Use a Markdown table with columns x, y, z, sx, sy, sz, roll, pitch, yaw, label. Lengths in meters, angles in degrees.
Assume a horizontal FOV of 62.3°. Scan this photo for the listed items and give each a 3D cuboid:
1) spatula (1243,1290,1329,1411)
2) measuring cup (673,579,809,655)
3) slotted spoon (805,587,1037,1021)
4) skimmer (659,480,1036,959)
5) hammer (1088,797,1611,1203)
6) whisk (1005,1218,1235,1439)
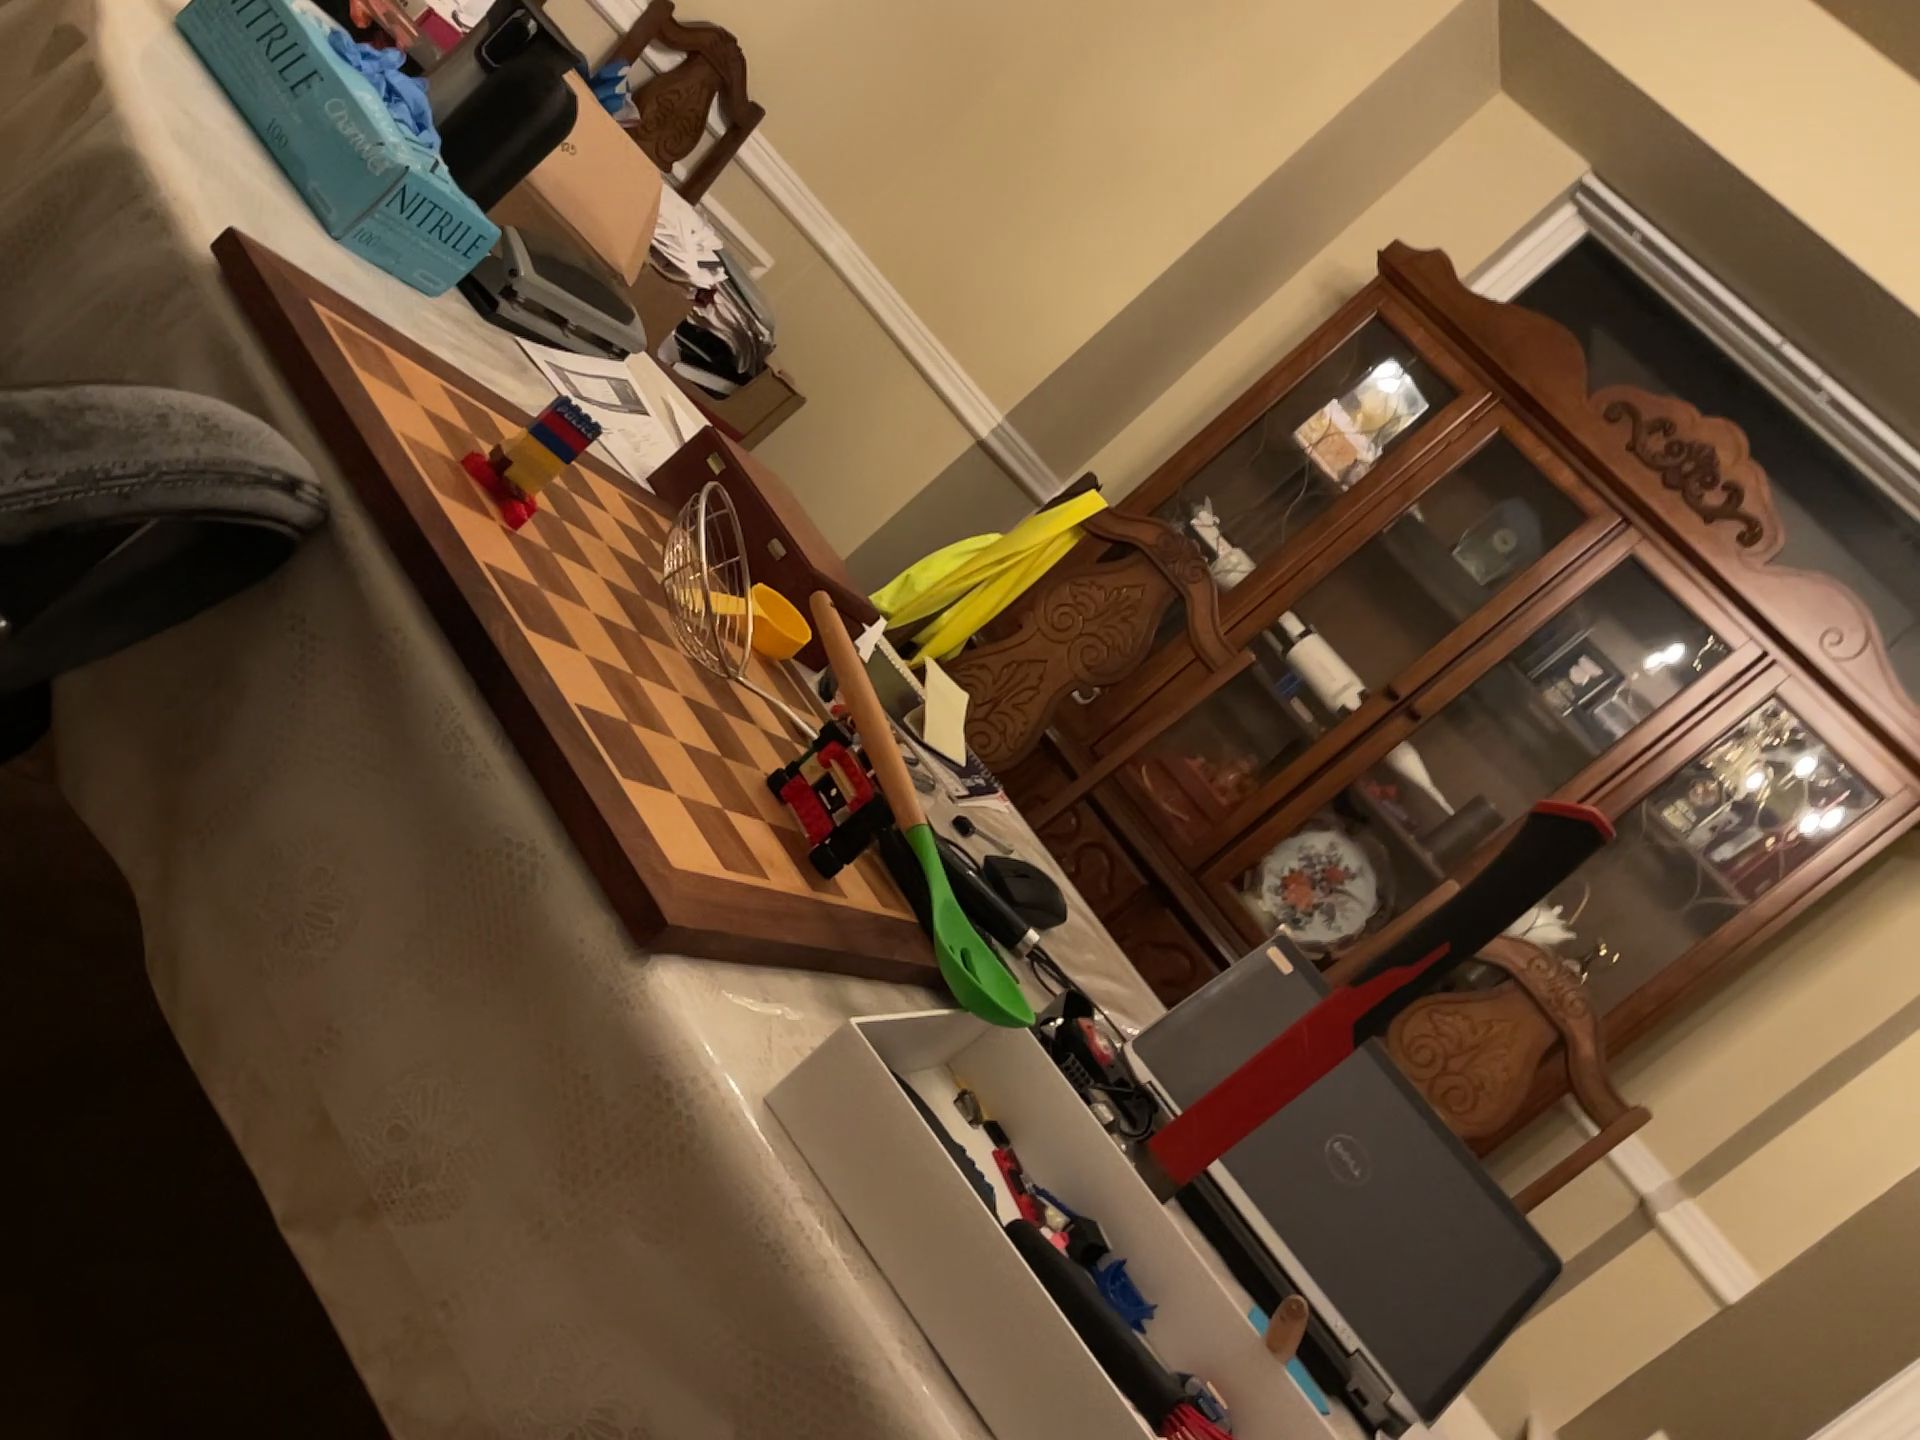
| x | y | z | sx | sy | sz | roll | pitch | yaw | label |
| --- | --- | --- | --- | --- | --- | --- | --- | --- | --- |
| 0.188 | 0.357 | 0.922 | 0.082 | 0.044 | 0.317 | 55 | -11 | 27 | spatula |
| -0.168 | -0.078 | 1.164 | 0.062 | 0.029 | 0.156 | 55 | 22 | 21 | measuring cup |
| -0.034 | 0.042 | 0.923 | 0.070 | 0.031 | 0.314 | 34 | 26 | -56 | slotted spoon |
| -0.064 | 0.002 | 1.042 | 0.363 | 0.090 | 0.127 | 45 | 6 | -1 | skimmer |
| 0.249 | 0.194 | 0.981 | 0.143 | 0.386 | 0.038 | 53 | 9 | 25 | hammer |
| 0.105 | 0.317 | 0.695 | 0.296 | 0.073 | 0.073 | 37 | -22 | 48 | whisk |
